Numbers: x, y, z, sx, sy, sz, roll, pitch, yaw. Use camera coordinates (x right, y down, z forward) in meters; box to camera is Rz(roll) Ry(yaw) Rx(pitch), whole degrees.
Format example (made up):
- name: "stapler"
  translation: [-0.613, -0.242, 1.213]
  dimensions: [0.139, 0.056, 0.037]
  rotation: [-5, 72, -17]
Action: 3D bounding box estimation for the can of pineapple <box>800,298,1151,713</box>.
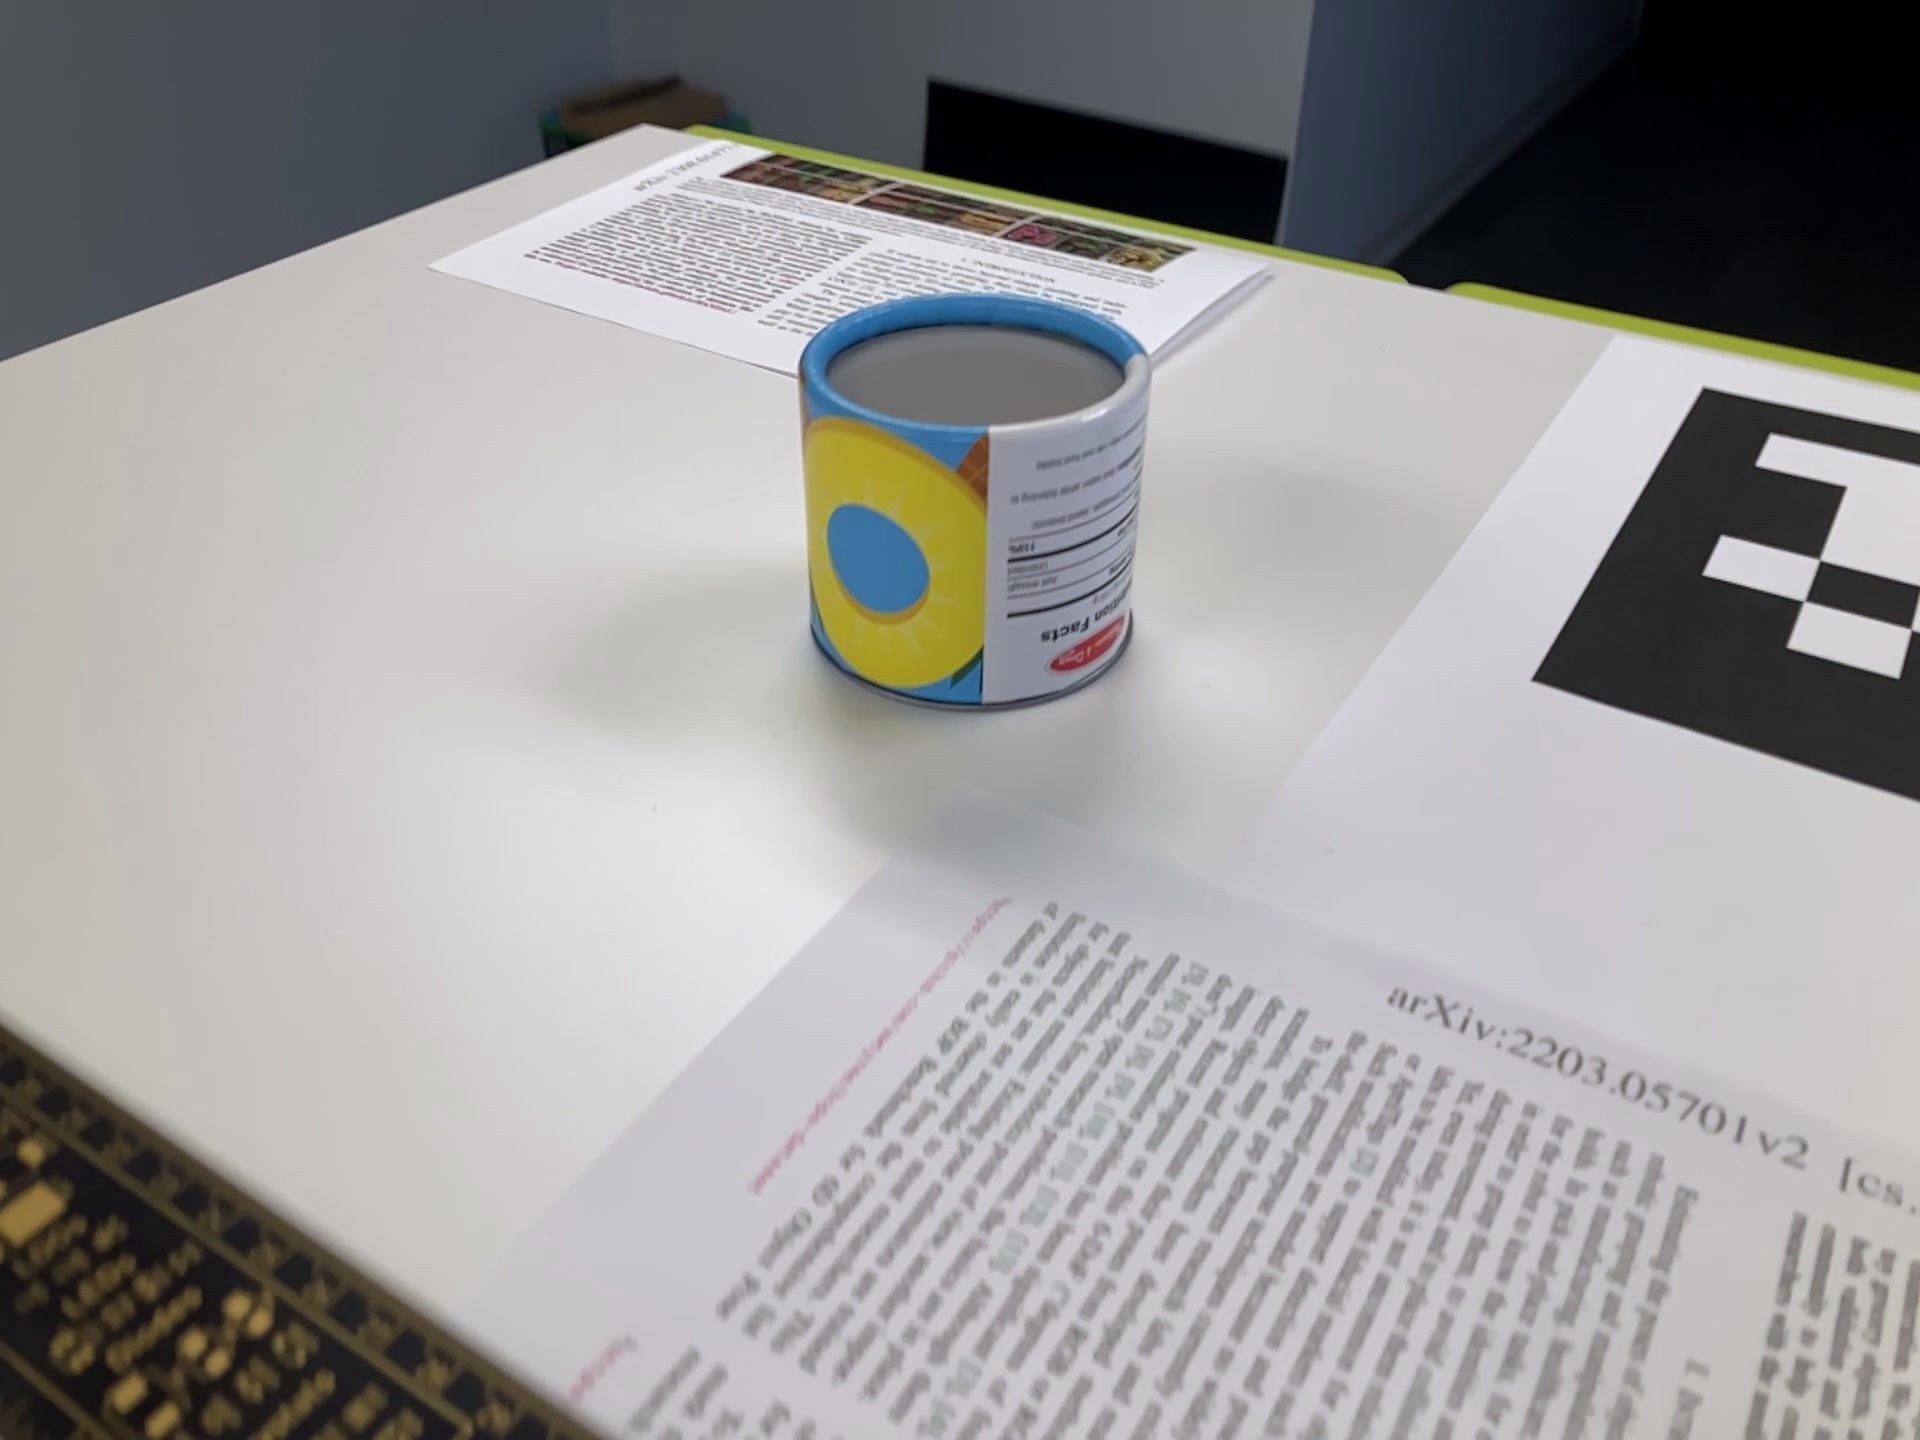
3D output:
- name: "can of pineapple"
  translation: [0.001, -0.044, 0.311]
  dimensions: [0.071, 0.058, 0.071]
  rotation: [0, 36, 0]
